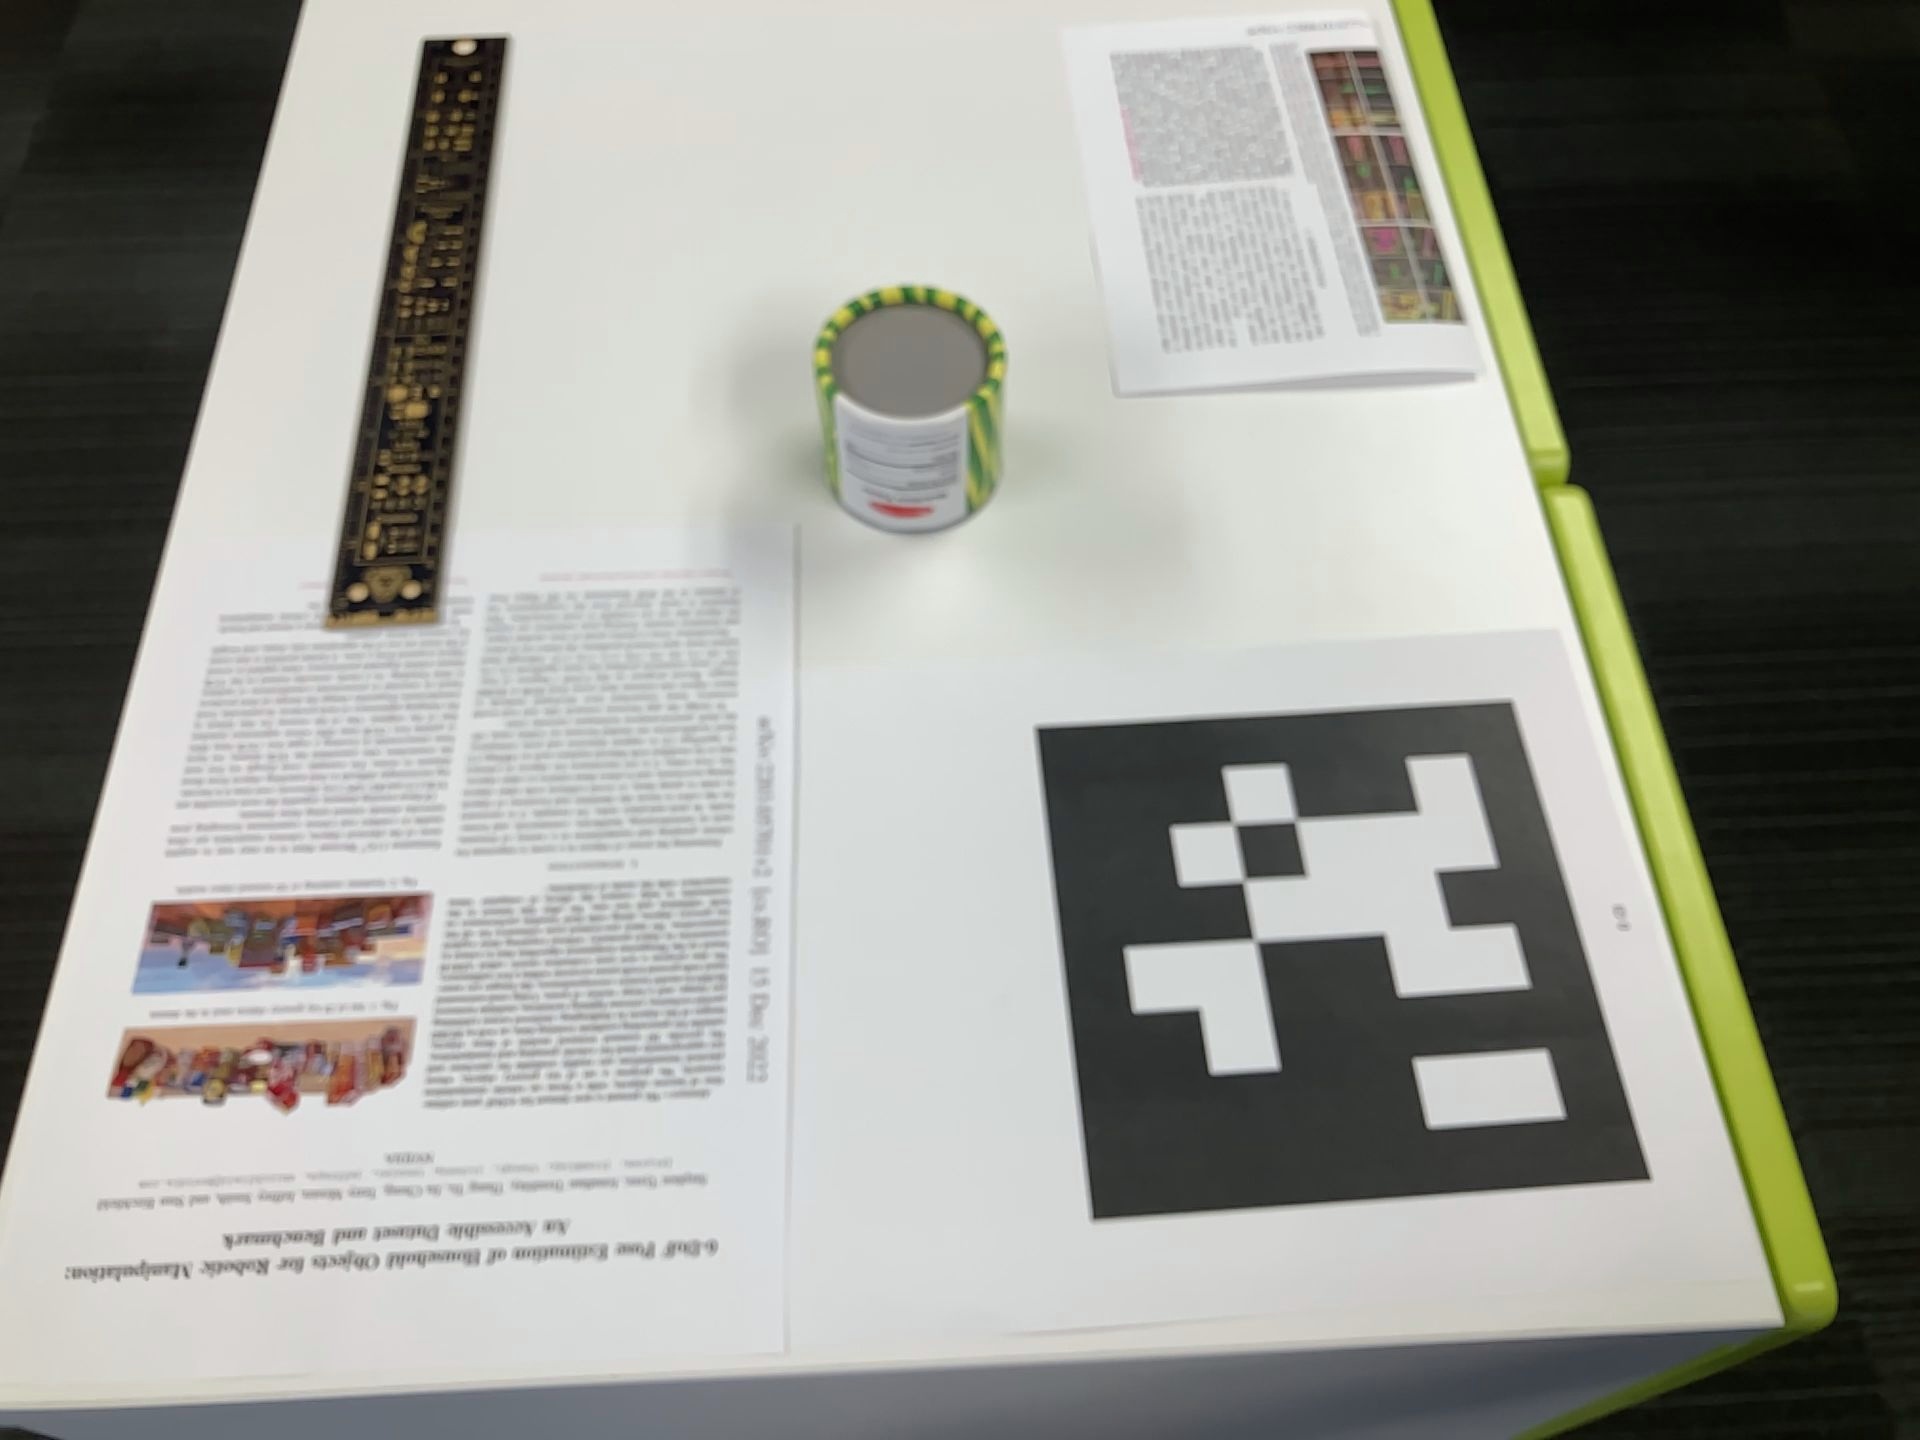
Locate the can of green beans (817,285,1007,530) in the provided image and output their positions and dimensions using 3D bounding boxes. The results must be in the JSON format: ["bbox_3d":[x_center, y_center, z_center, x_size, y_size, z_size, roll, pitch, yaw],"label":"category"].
[{"bbox_3d":[-0.017,-0.112,0.573,0.071,0.058,0.071,0,59,0],"label":"can of green beans"}]
